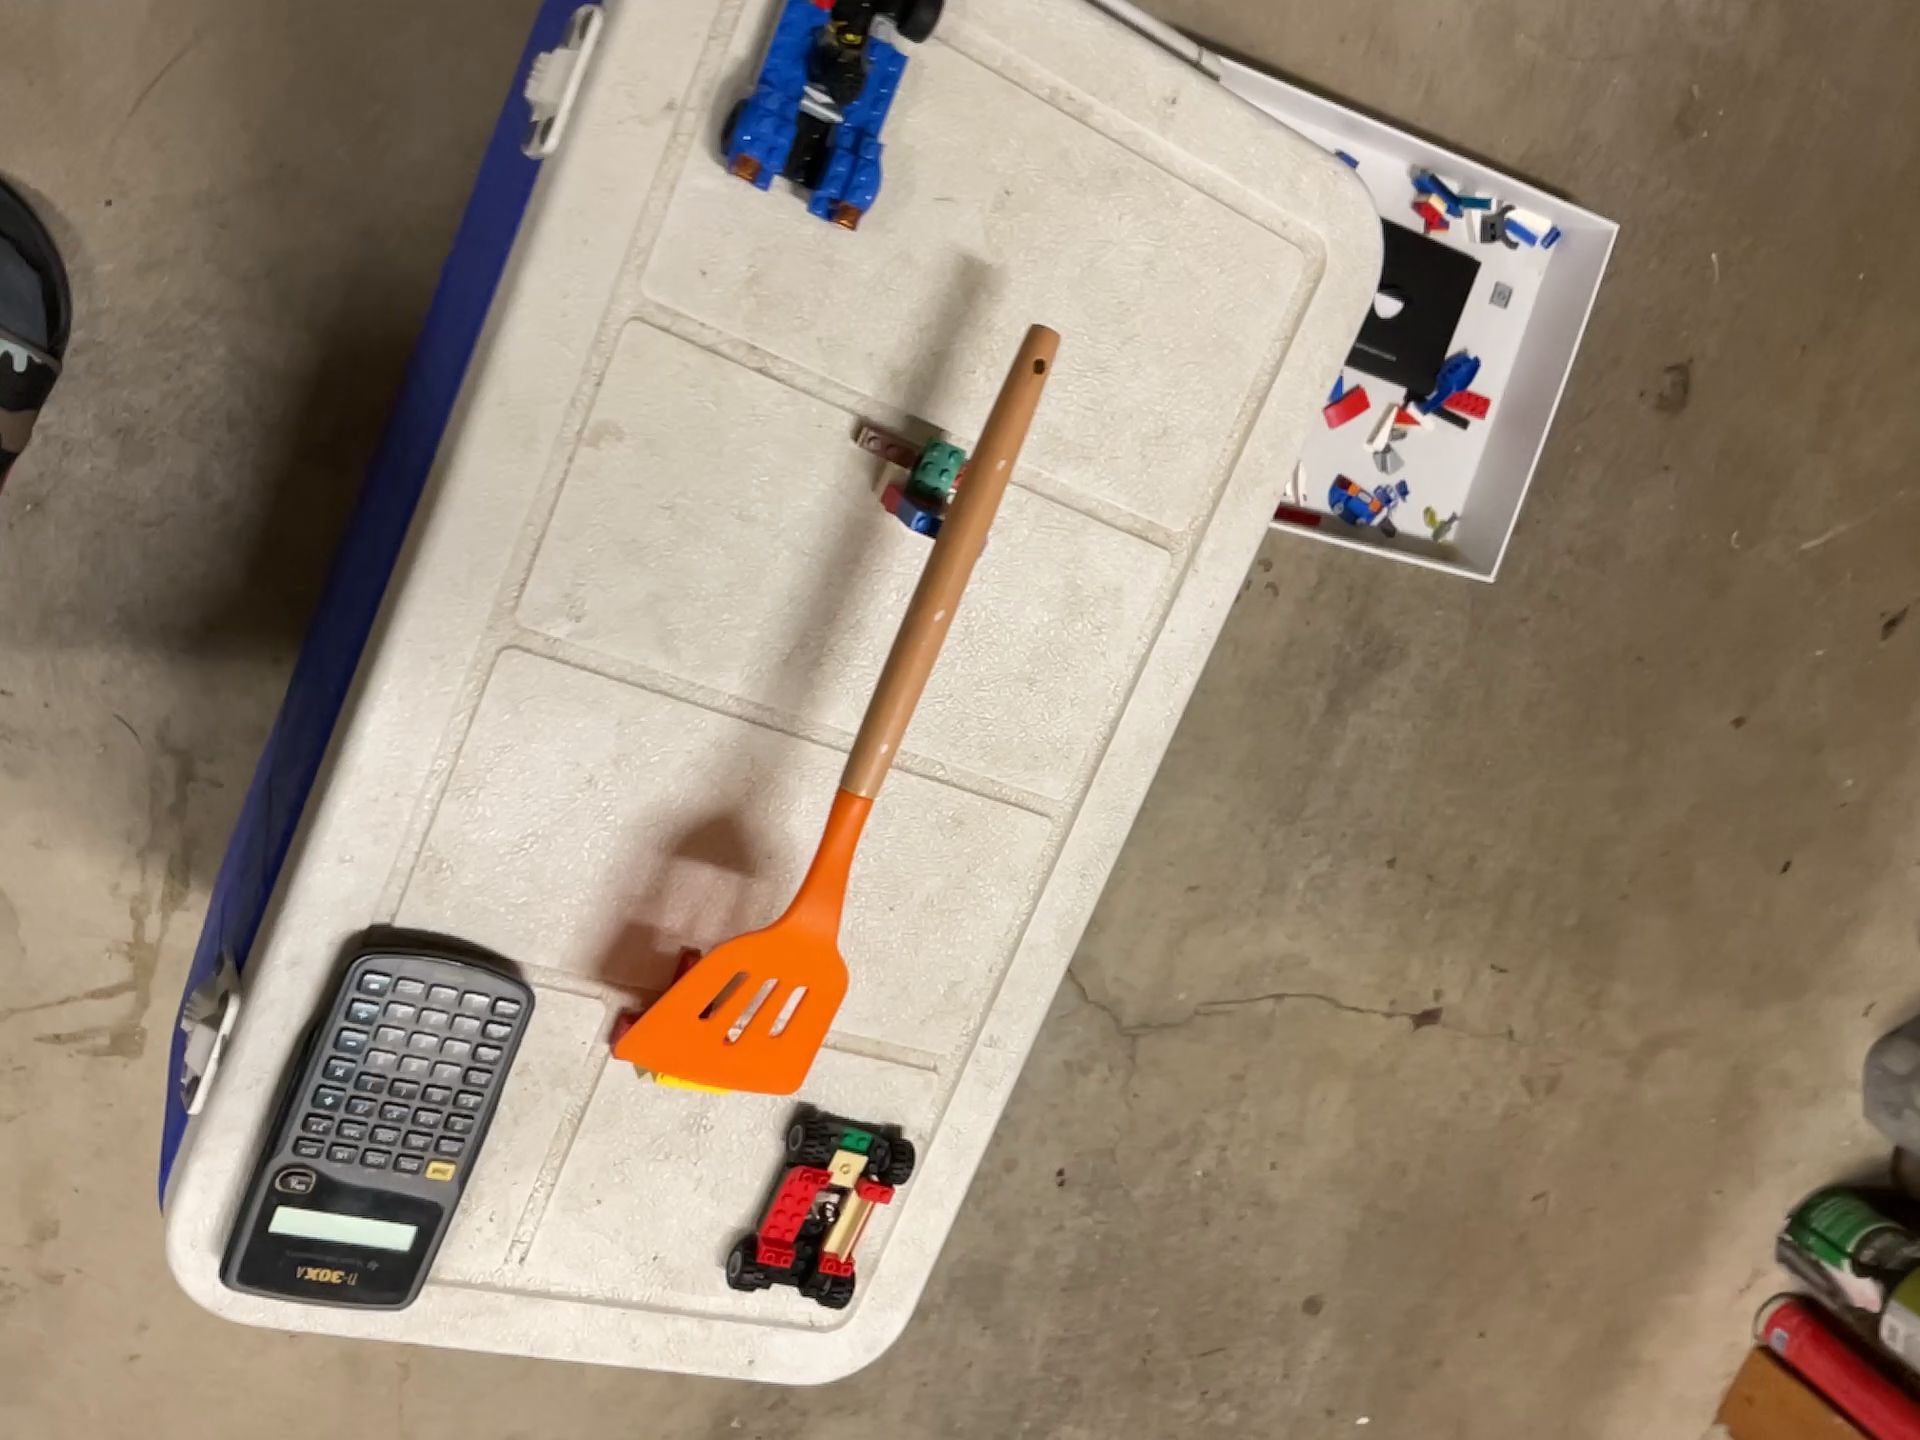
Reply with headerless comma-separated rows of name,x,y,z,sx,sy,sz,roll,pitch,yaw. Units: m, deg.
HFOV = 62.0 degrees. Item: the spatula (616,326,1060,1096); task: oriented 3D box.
spatula,-0.035,0.003,0.609,0.081,0.041,0.322,20,95,-27
